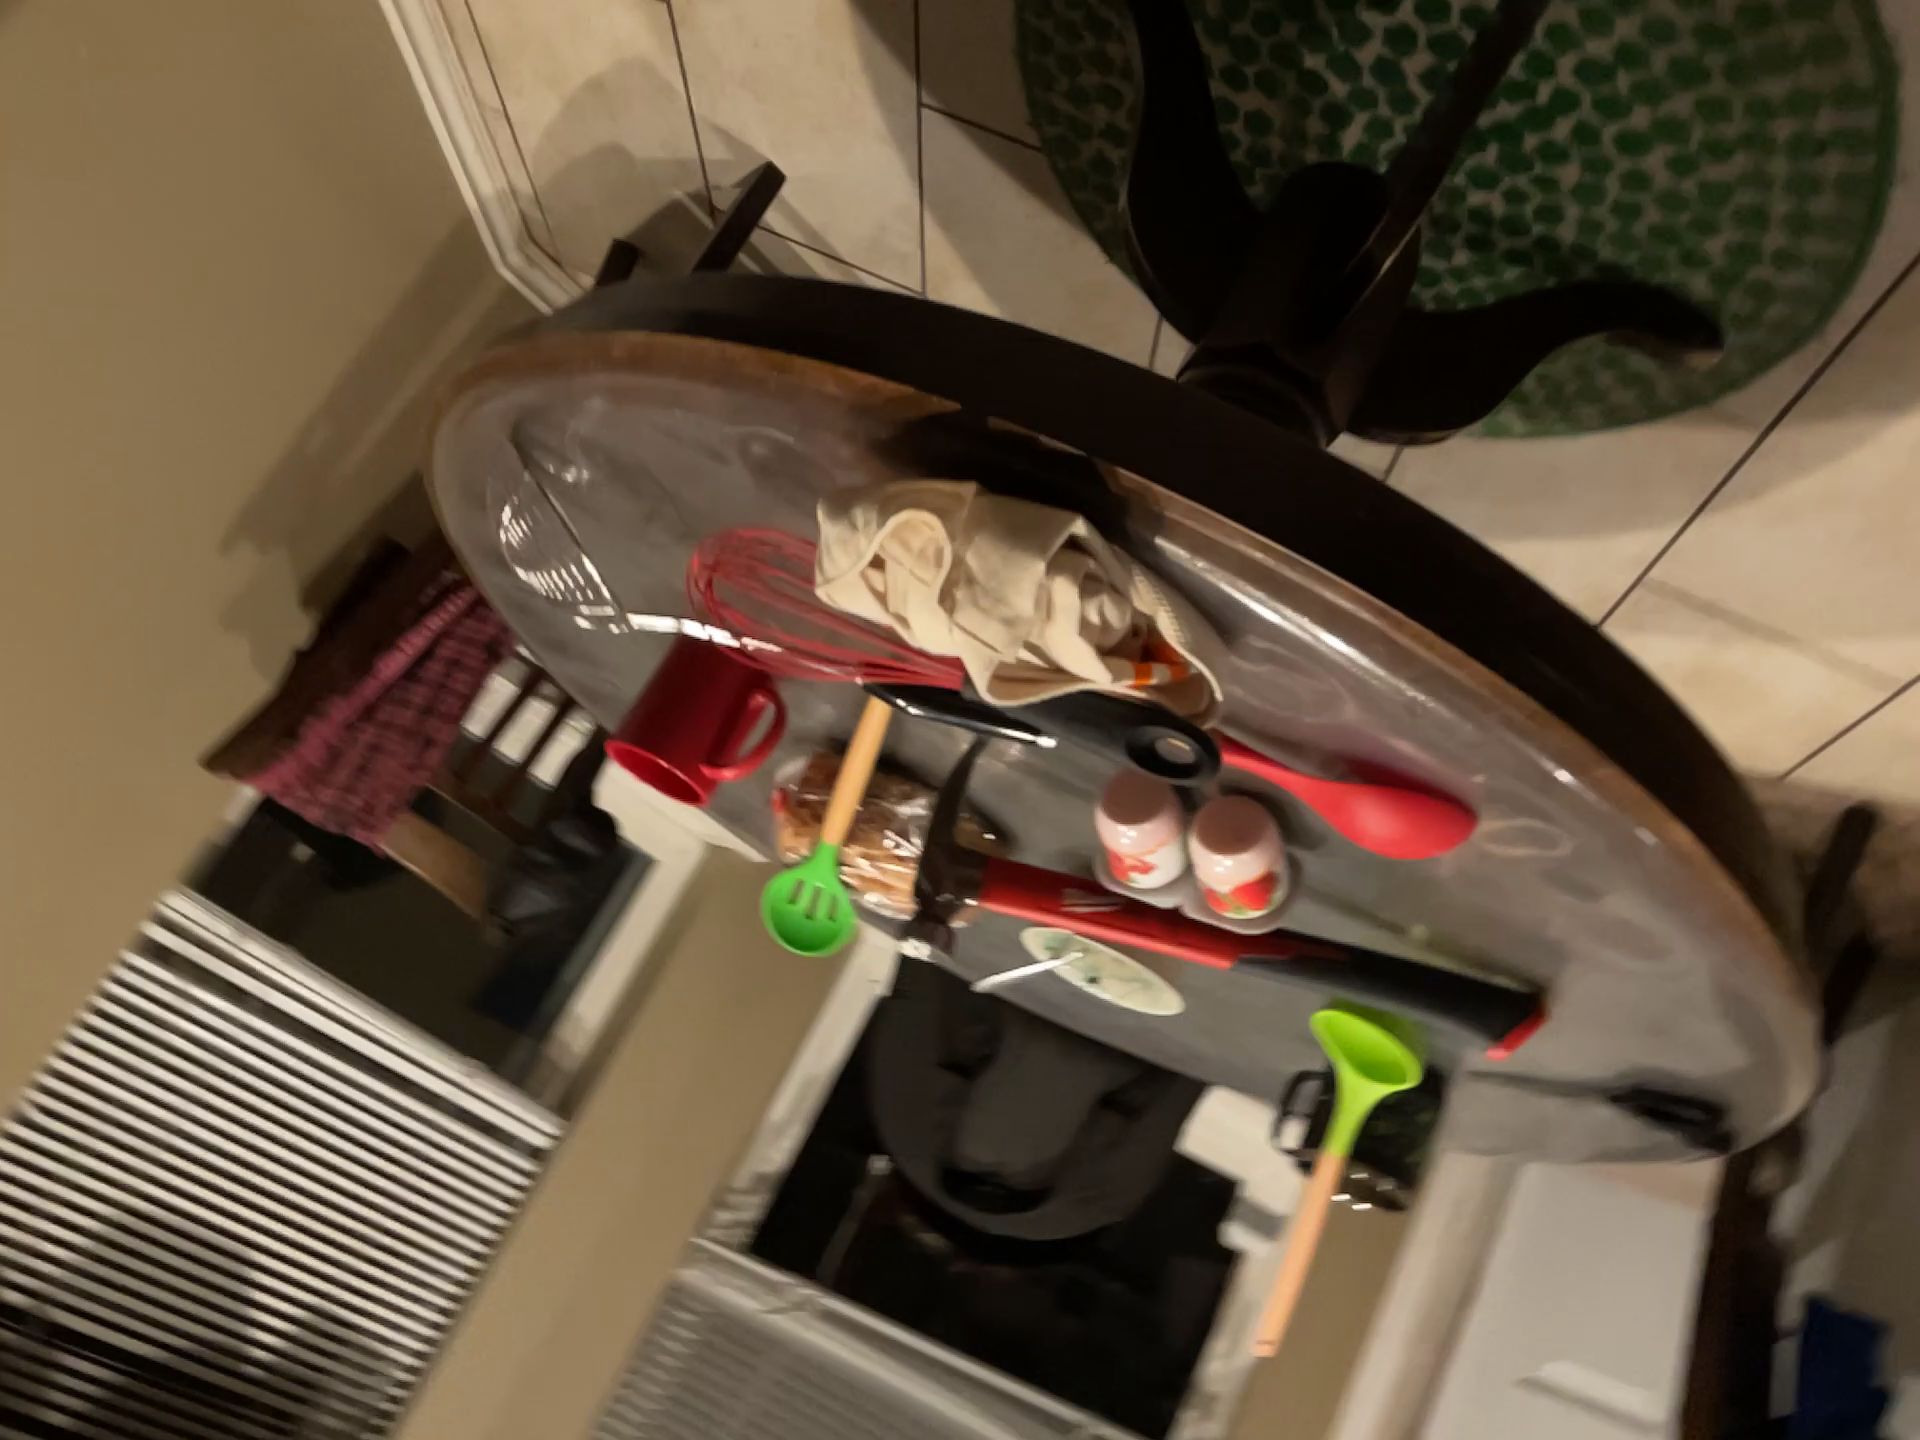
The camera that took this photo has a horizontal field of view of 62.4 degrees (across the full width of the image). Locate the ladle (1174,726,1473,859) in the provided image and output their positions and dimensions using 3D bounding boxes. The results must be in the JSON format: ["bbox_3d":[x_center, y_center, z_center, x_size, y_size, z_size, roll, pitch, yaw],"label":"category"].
[{"bbox_3d":[0.113,0.000,0.830,0.315,0.031,0.069,26,159,13],"label":"ladle"}]

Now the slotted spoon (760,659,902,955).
[{"bbox_3d":[-0.081,0.065,1.081,0.070,0.031,0.313,24,137,1],"label":"slotted spoon"}]

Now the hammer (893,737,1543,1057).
[{"bbox_3d":[0.162,0.120,0.979,0.386,0.143,0.038,13,158,8],"label":"hammer"}]

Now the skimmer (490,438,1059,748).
[{"bbox_3d":[-0.107,-0.072,0.933,0.363,0.090,0.127,16,167,3],"label":"skimmer"}]

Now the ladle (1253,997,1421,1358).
[{"bbox_3d":[0.250,0.330,1.118,0.078,0.320,0.062,28,-154,34],"label":"ladle"}]

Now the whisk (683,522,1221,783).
[{"bbox_3d":[-0.012,-0.030,0.775,0.296,0.073,0.073,21,157,17],"label":"whisk"}]
